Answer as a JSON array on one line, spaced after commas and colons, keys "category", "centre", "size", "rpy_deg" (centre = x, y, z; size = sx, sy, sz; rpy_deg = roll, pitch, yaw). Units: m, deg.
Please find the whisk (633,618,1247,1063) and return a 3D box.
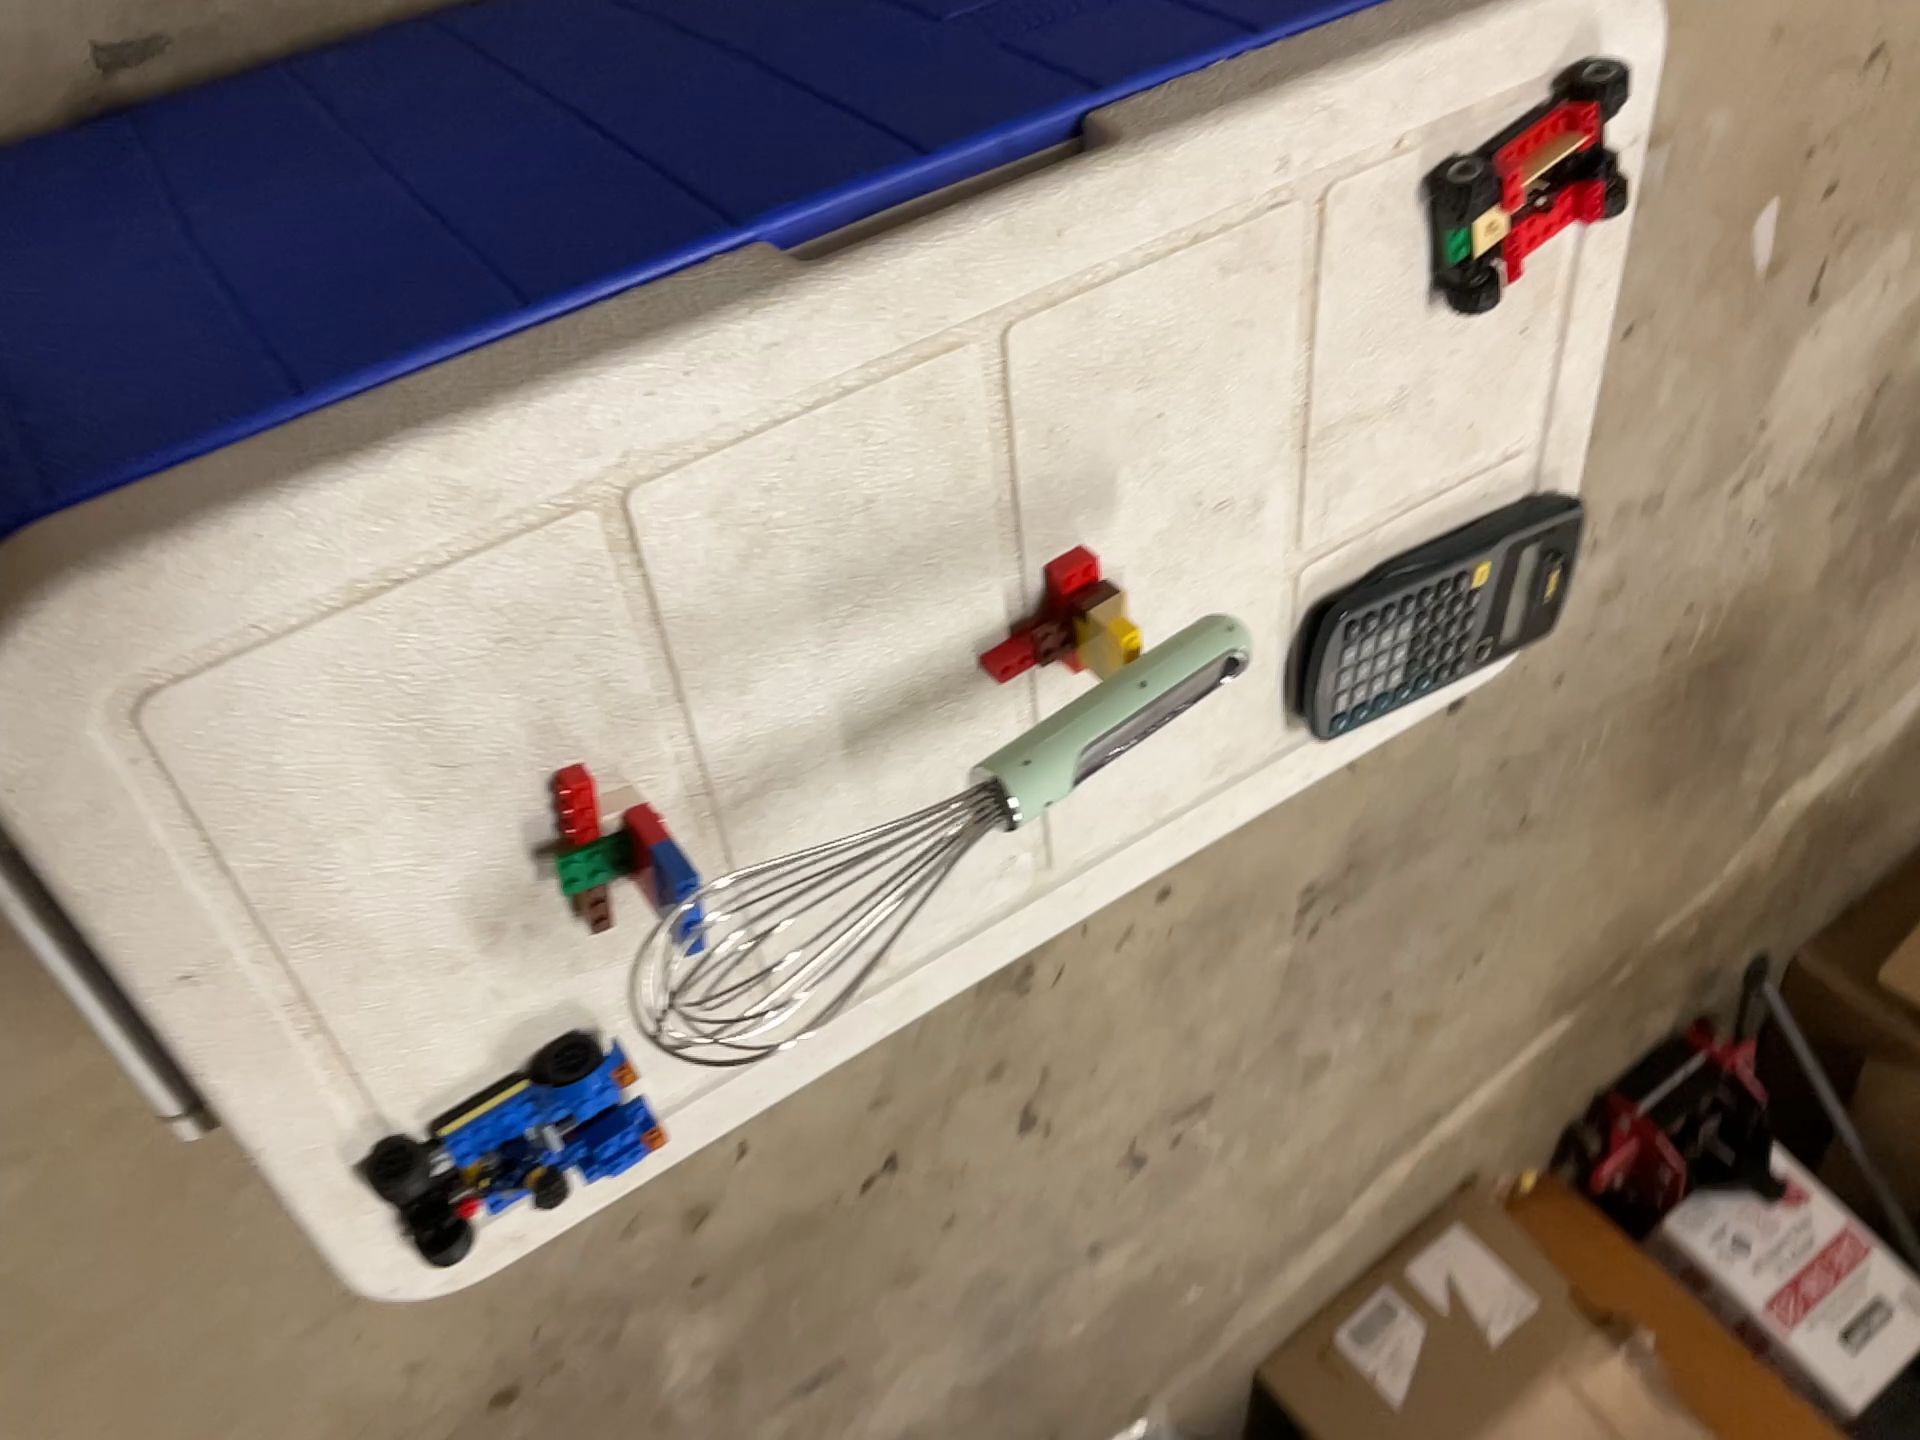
[{"category": "whisk", "centre": [0.004, 0.030, 0.513], "size": [0.246, 0.059, 0.057], "rpy_deg": [-32, 146, -26]}]
